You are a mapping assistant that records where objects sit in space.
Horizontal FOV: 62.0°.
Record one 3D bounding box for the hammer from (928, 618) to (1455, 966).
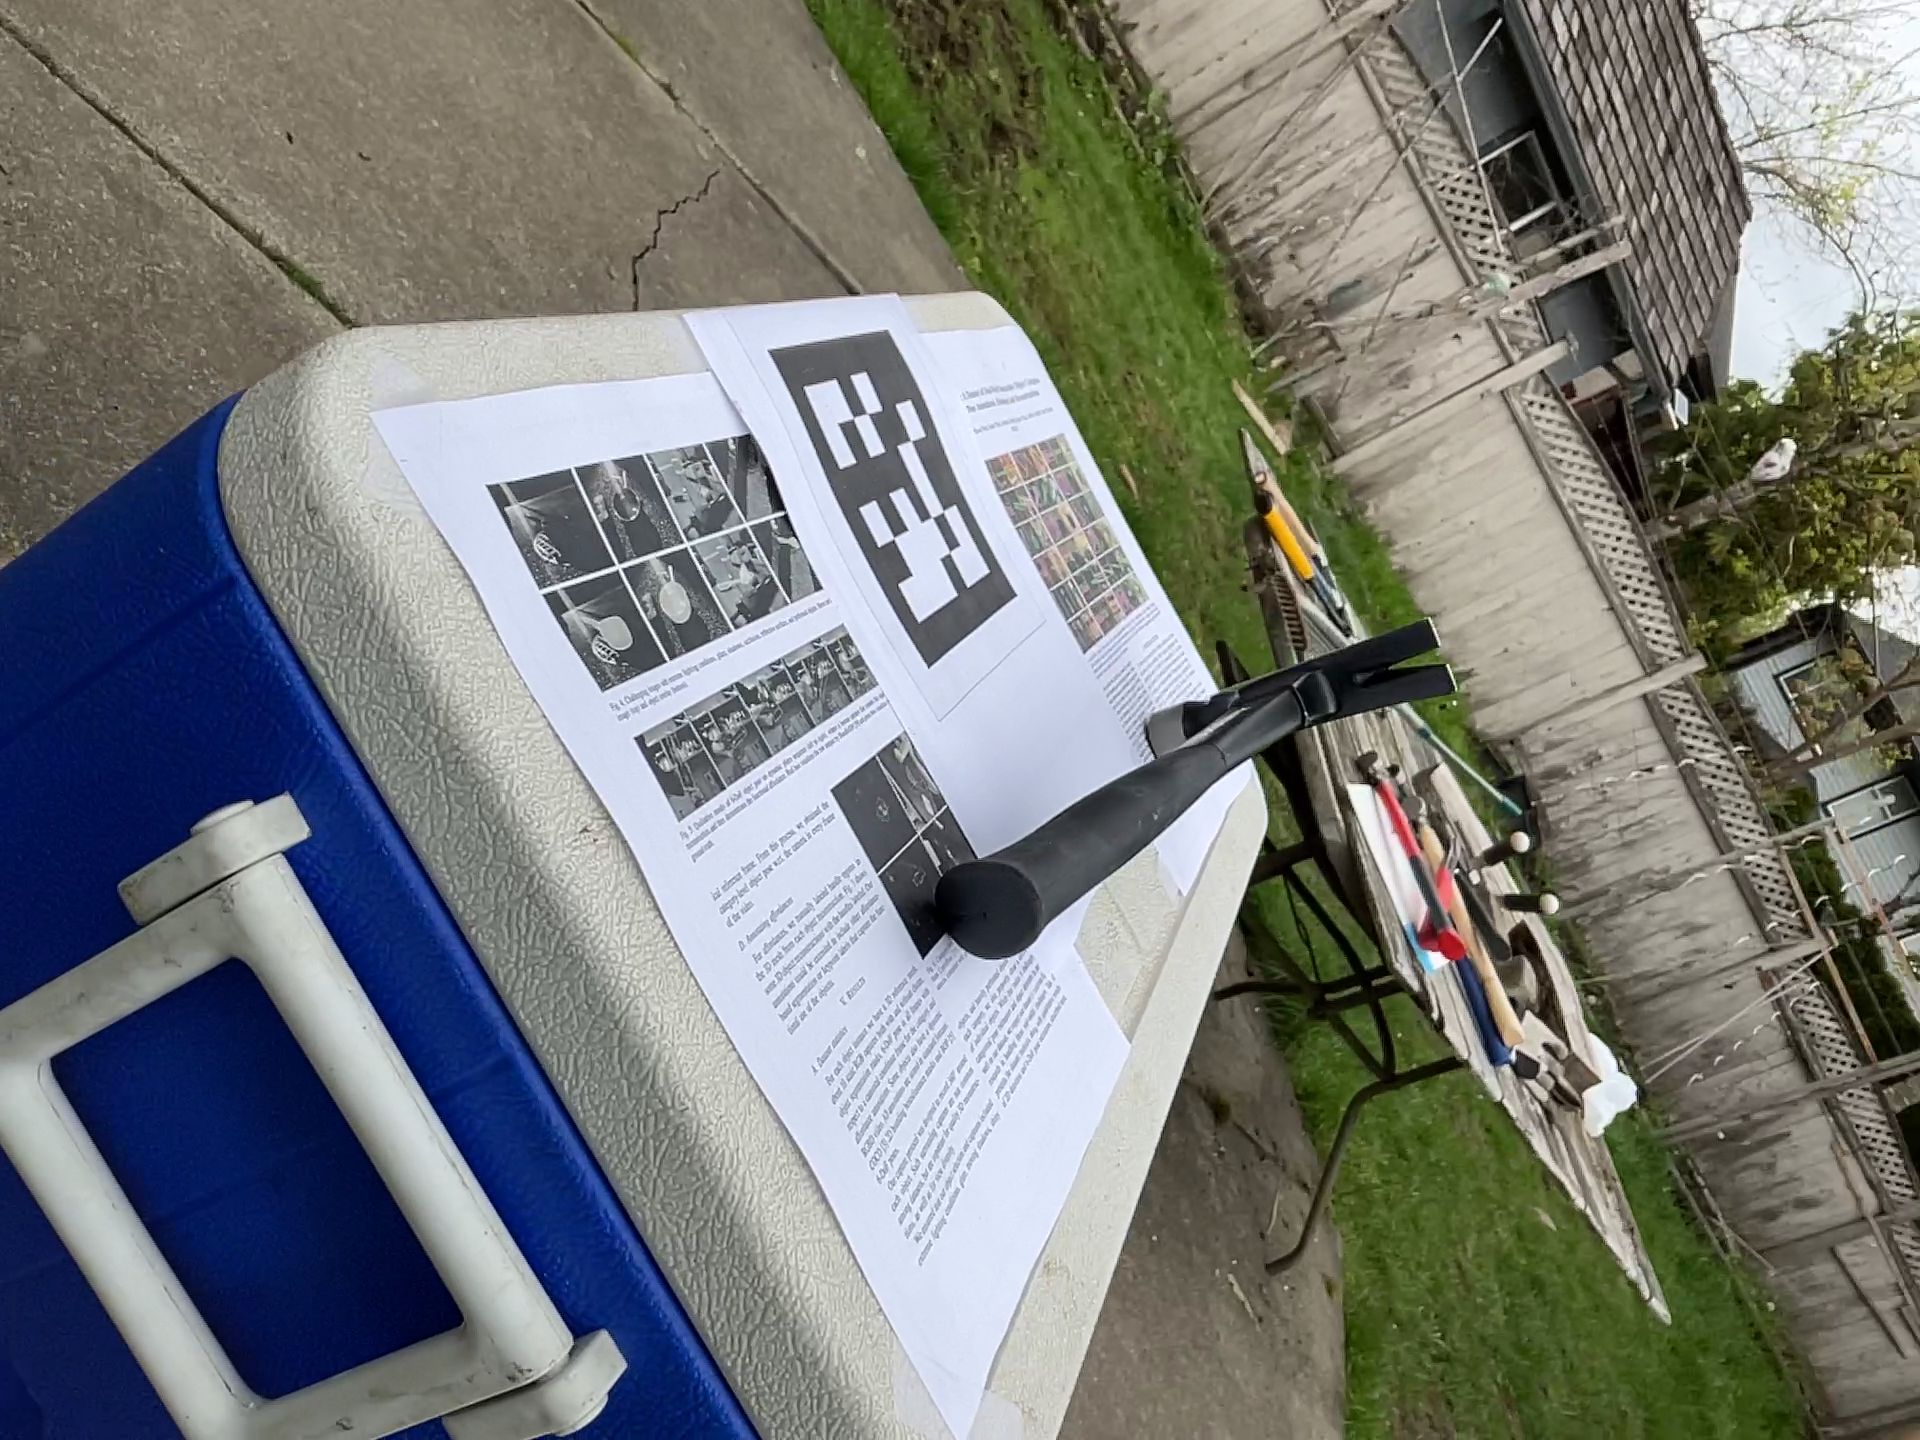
[{"bbox_3d":[0.086,0.022,0.609,0.334,0.146,0.035,-24,93,-59],"label":"hammer"}]
